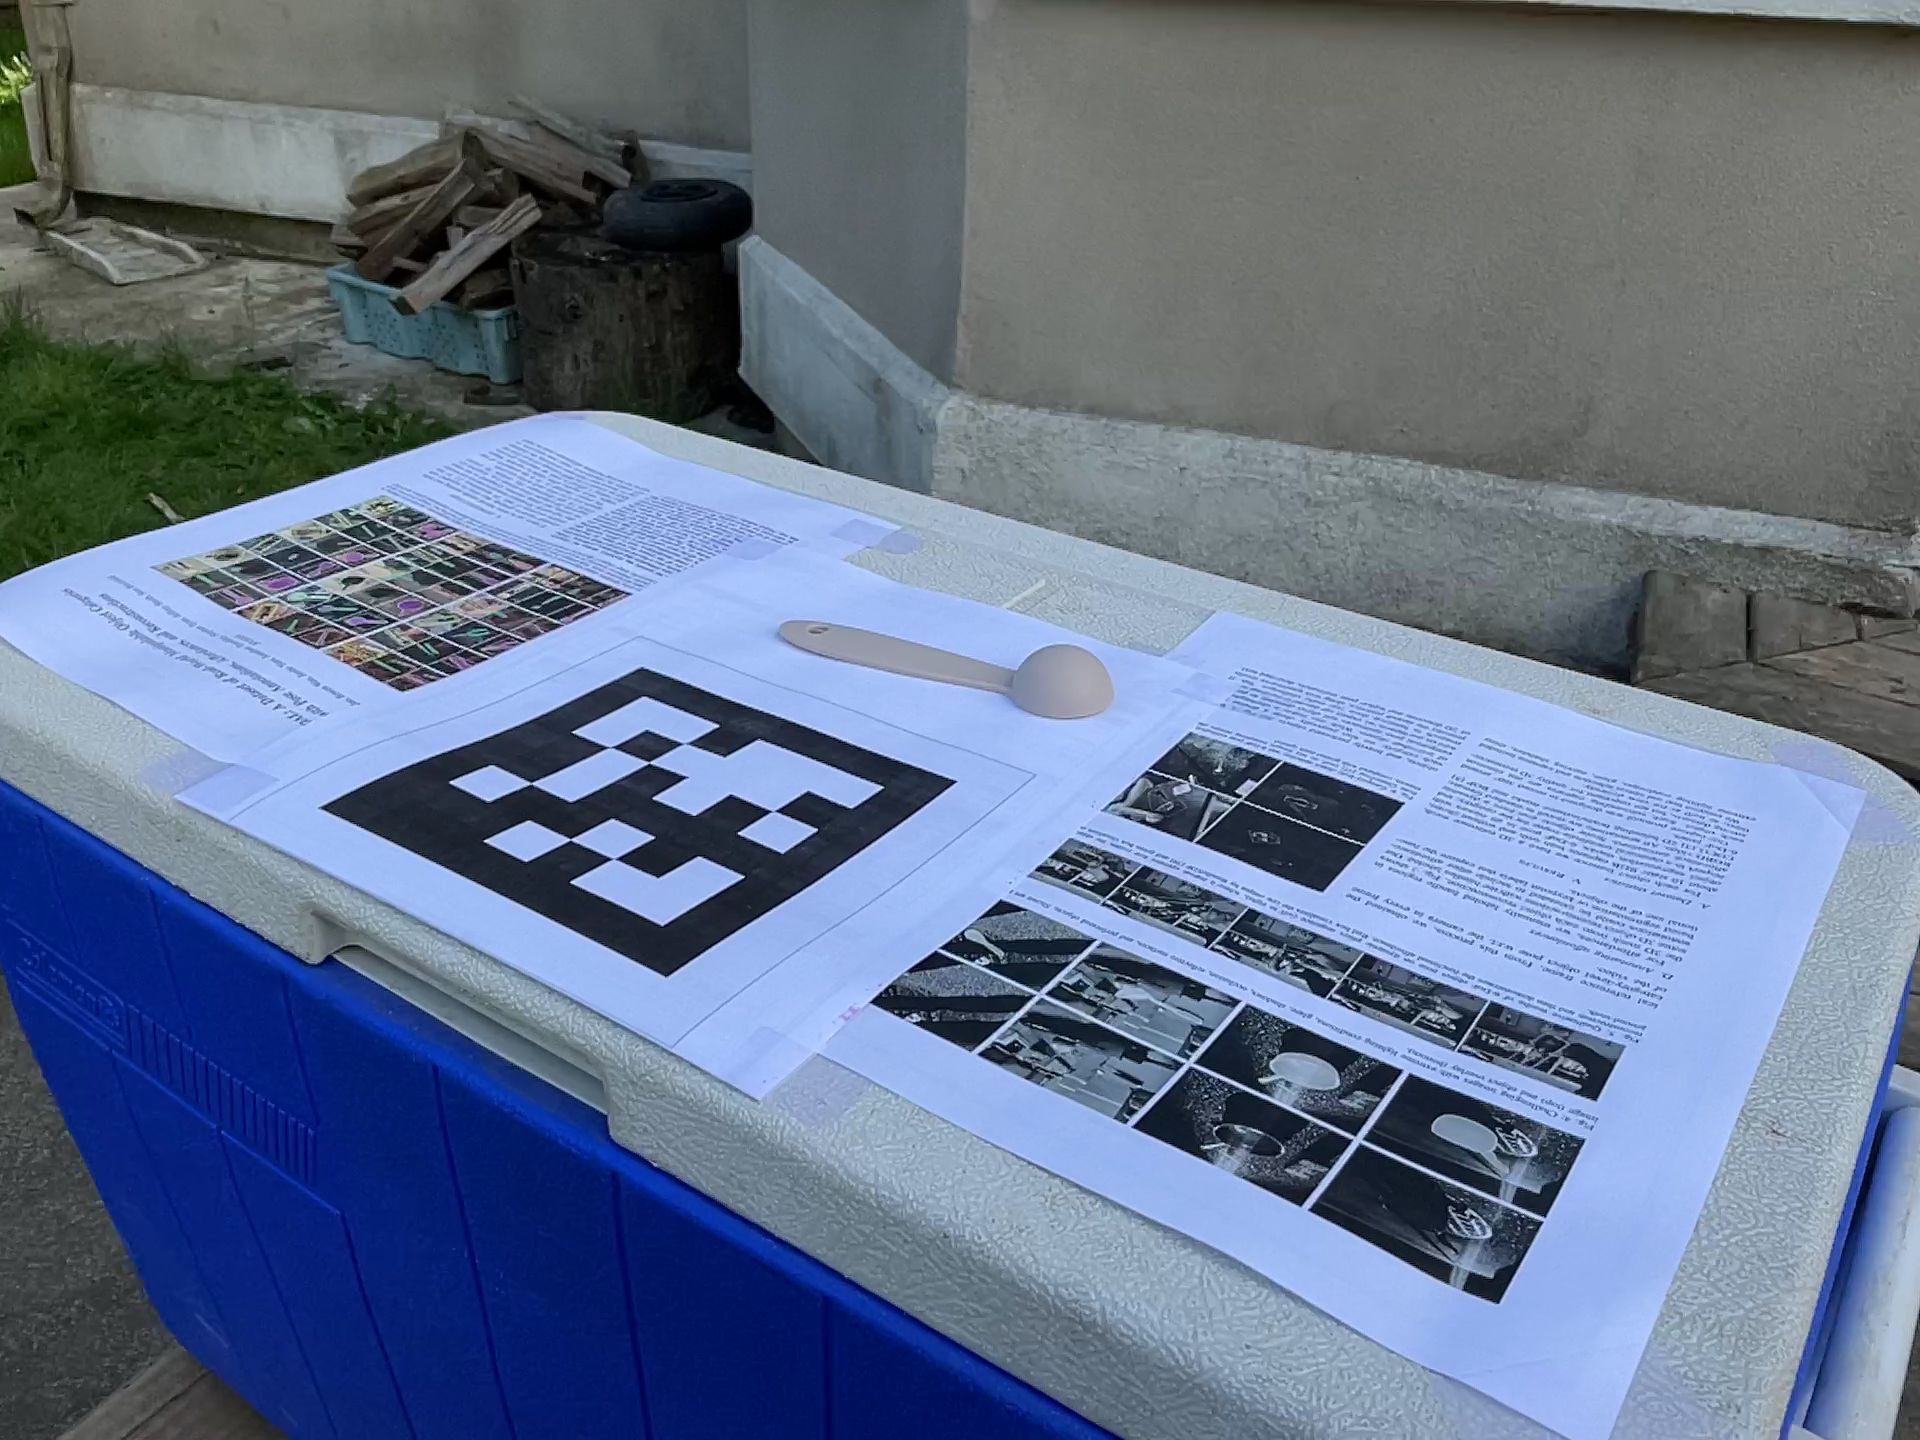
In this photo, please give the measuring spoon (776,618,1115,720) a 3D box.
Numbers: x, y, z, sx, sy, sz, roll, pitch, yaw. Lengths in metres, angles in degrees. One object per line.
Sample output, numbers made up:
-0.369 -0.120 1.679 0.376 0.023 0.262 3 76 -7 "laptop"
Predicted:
-0.007 -0.025 0.535 0.124 0.018 0.034 13 31 21 "measuring spoon"
